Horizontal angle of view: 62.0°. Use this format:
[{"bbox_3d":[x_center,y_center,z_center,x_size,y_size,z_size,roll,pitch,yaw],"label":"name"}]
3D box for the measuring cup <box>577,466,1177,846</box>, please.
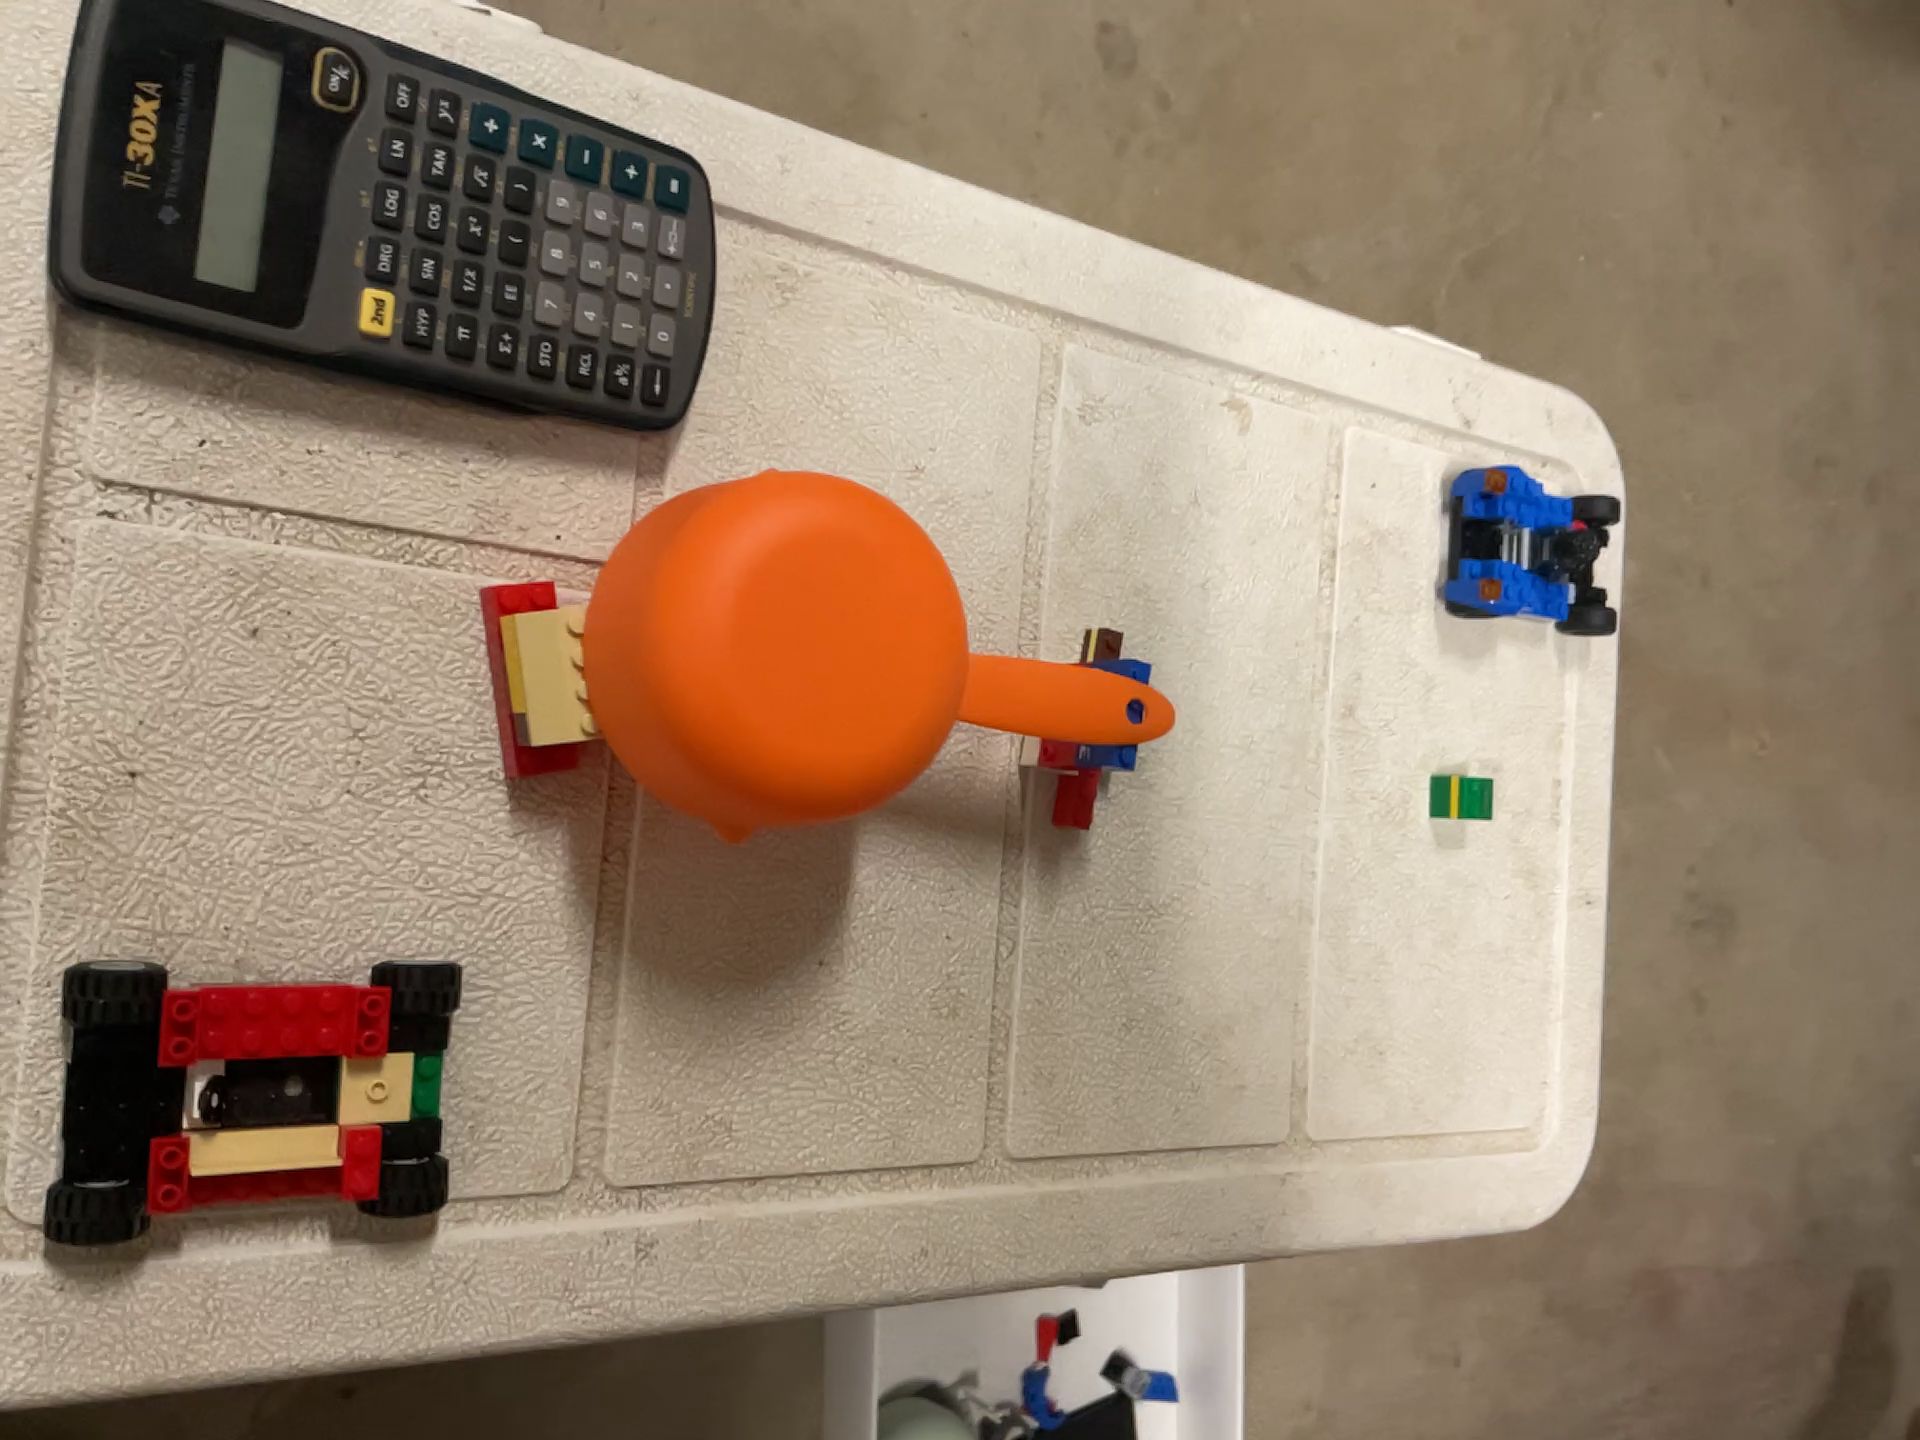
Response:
[{"bbox_3d":[-0.004,-0.011,0.399,0.173,0.052,0.095,9,85,-27],"label":"measuring cup"}]
